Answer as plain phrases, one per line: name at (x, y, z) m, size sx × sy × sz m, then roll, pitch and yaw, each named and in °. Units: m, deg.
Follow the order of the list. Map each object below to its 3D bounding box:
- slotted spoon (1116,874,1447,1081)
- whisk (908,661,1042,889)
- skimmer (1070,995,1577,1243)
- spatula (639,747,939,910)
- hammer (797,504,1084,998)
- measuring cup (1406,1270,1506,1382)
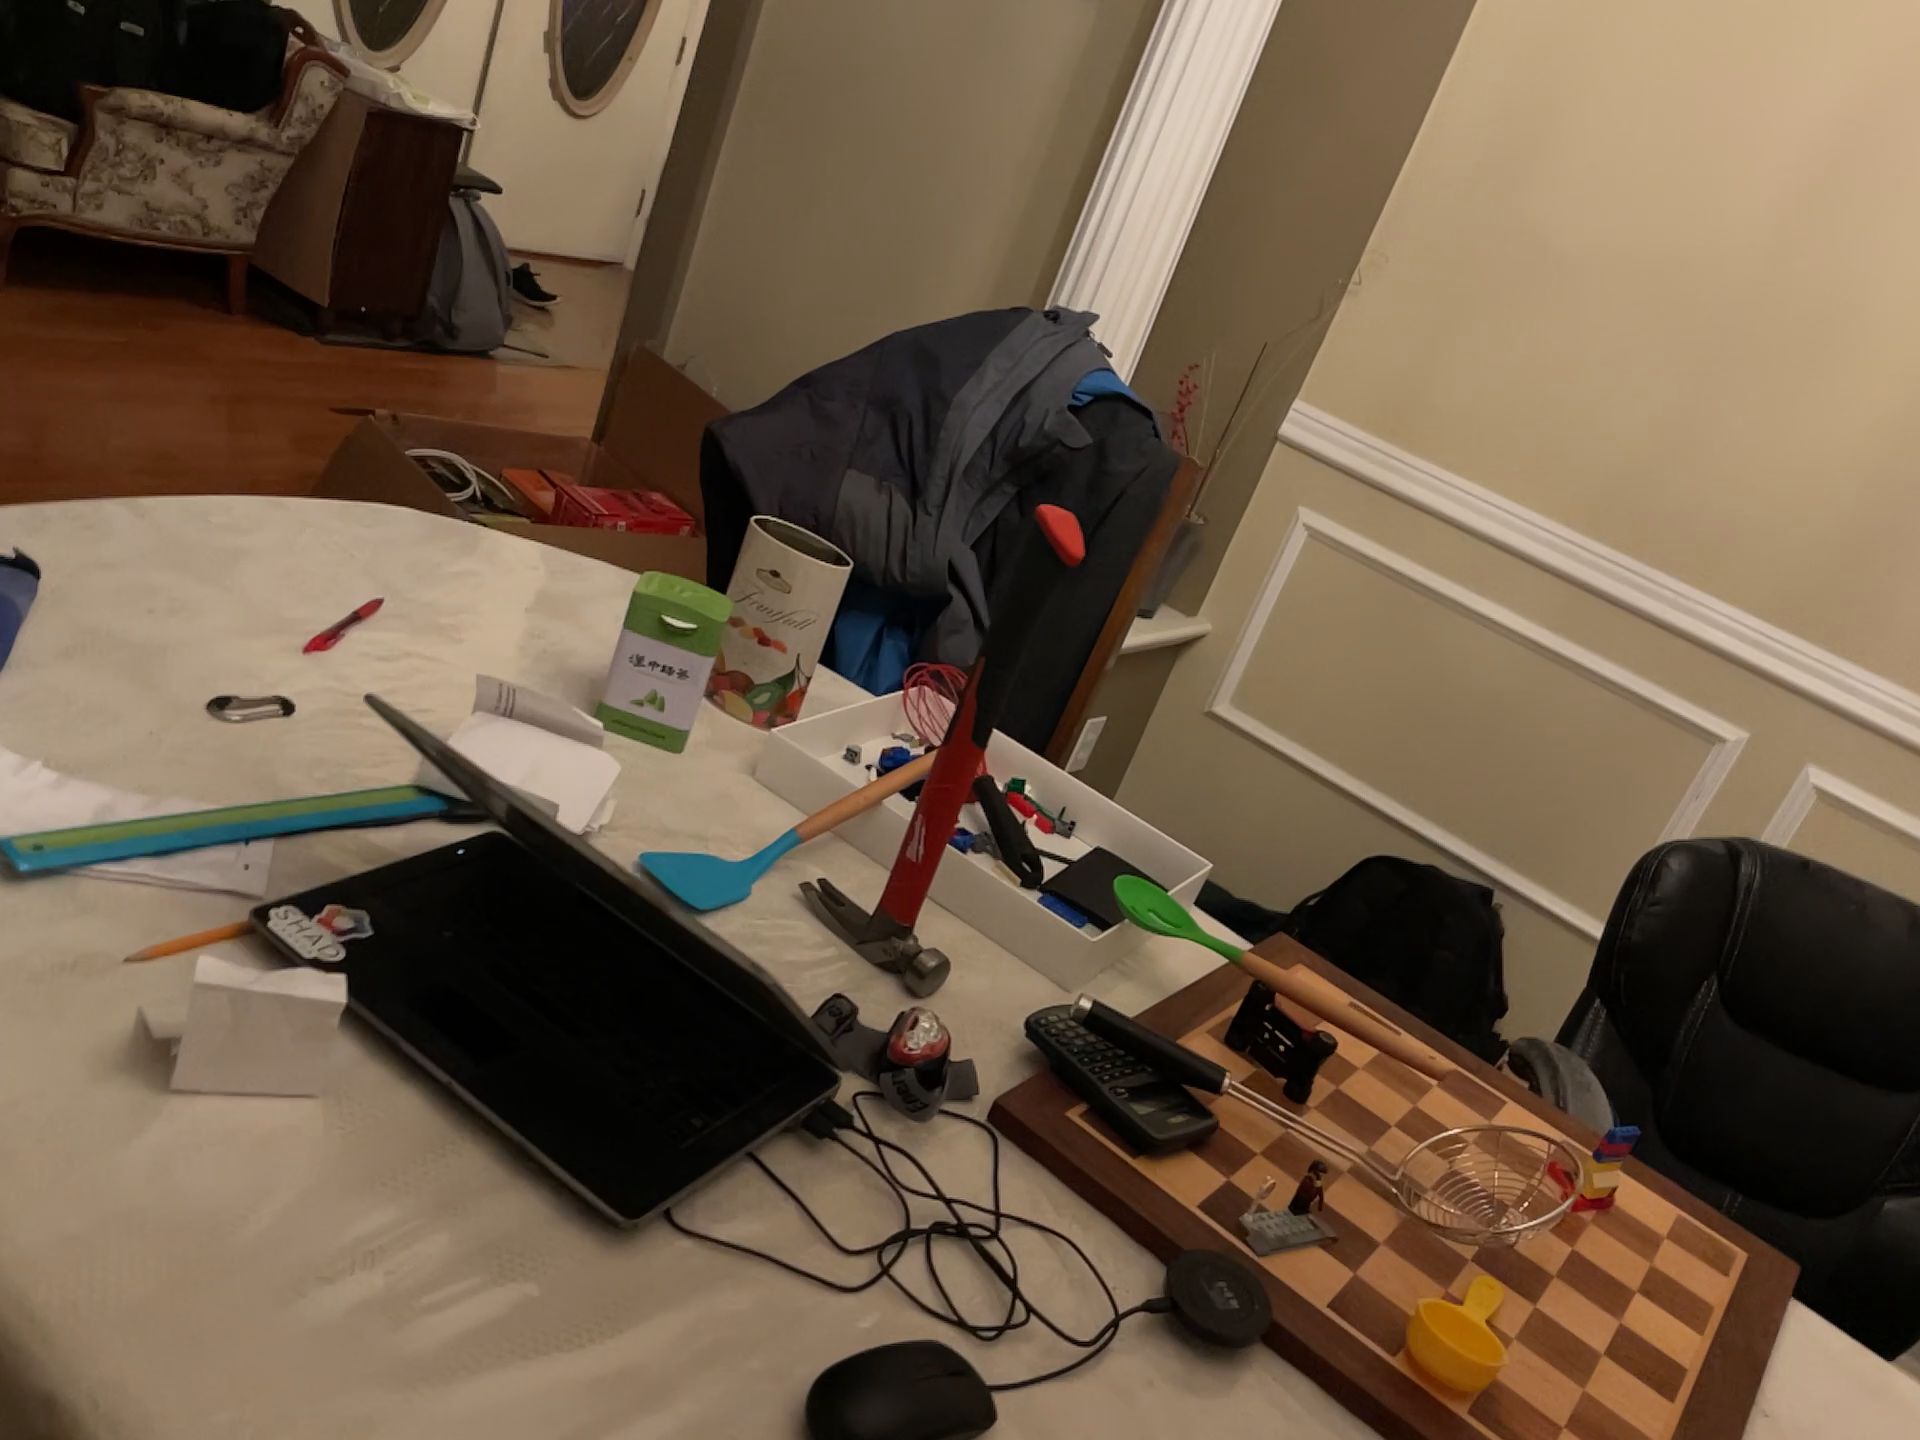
slotted spoon at (0.245, 0.202, 1.261) m, size 0.314 × 0.031 × 0.070 m, roll 28°, pitch 19°, yaw 39°
whisk at (0.014, 0.047, 1.526) m, size 0.073 × 0.073 × 0.296 m, roll -9°, pitch 47°, yaw -21°
skimmer at (0.259, 0.270, 1.152) m, size 0.363 × 0.090 × 0.127 m, roll 27°, pitch 24°, yaw 3°
spatula at (-0.115, 0.079, 1.320) m, size 0.317 × 0.044 × 0.082 m, roll -29°, pitch 49°, yaw -36°
hammer at (-0.009, 0.013, 1.185) m, size 0.143 × 0.386 × 0.038 m, roll 34°, pitch 25°, yaw 29°
measuring cup at (0.334, 0.395, 1.047) m, size 0.062 × 0.029 × 0.156 m, roll 30°, pitch 11°, yaw 27°
